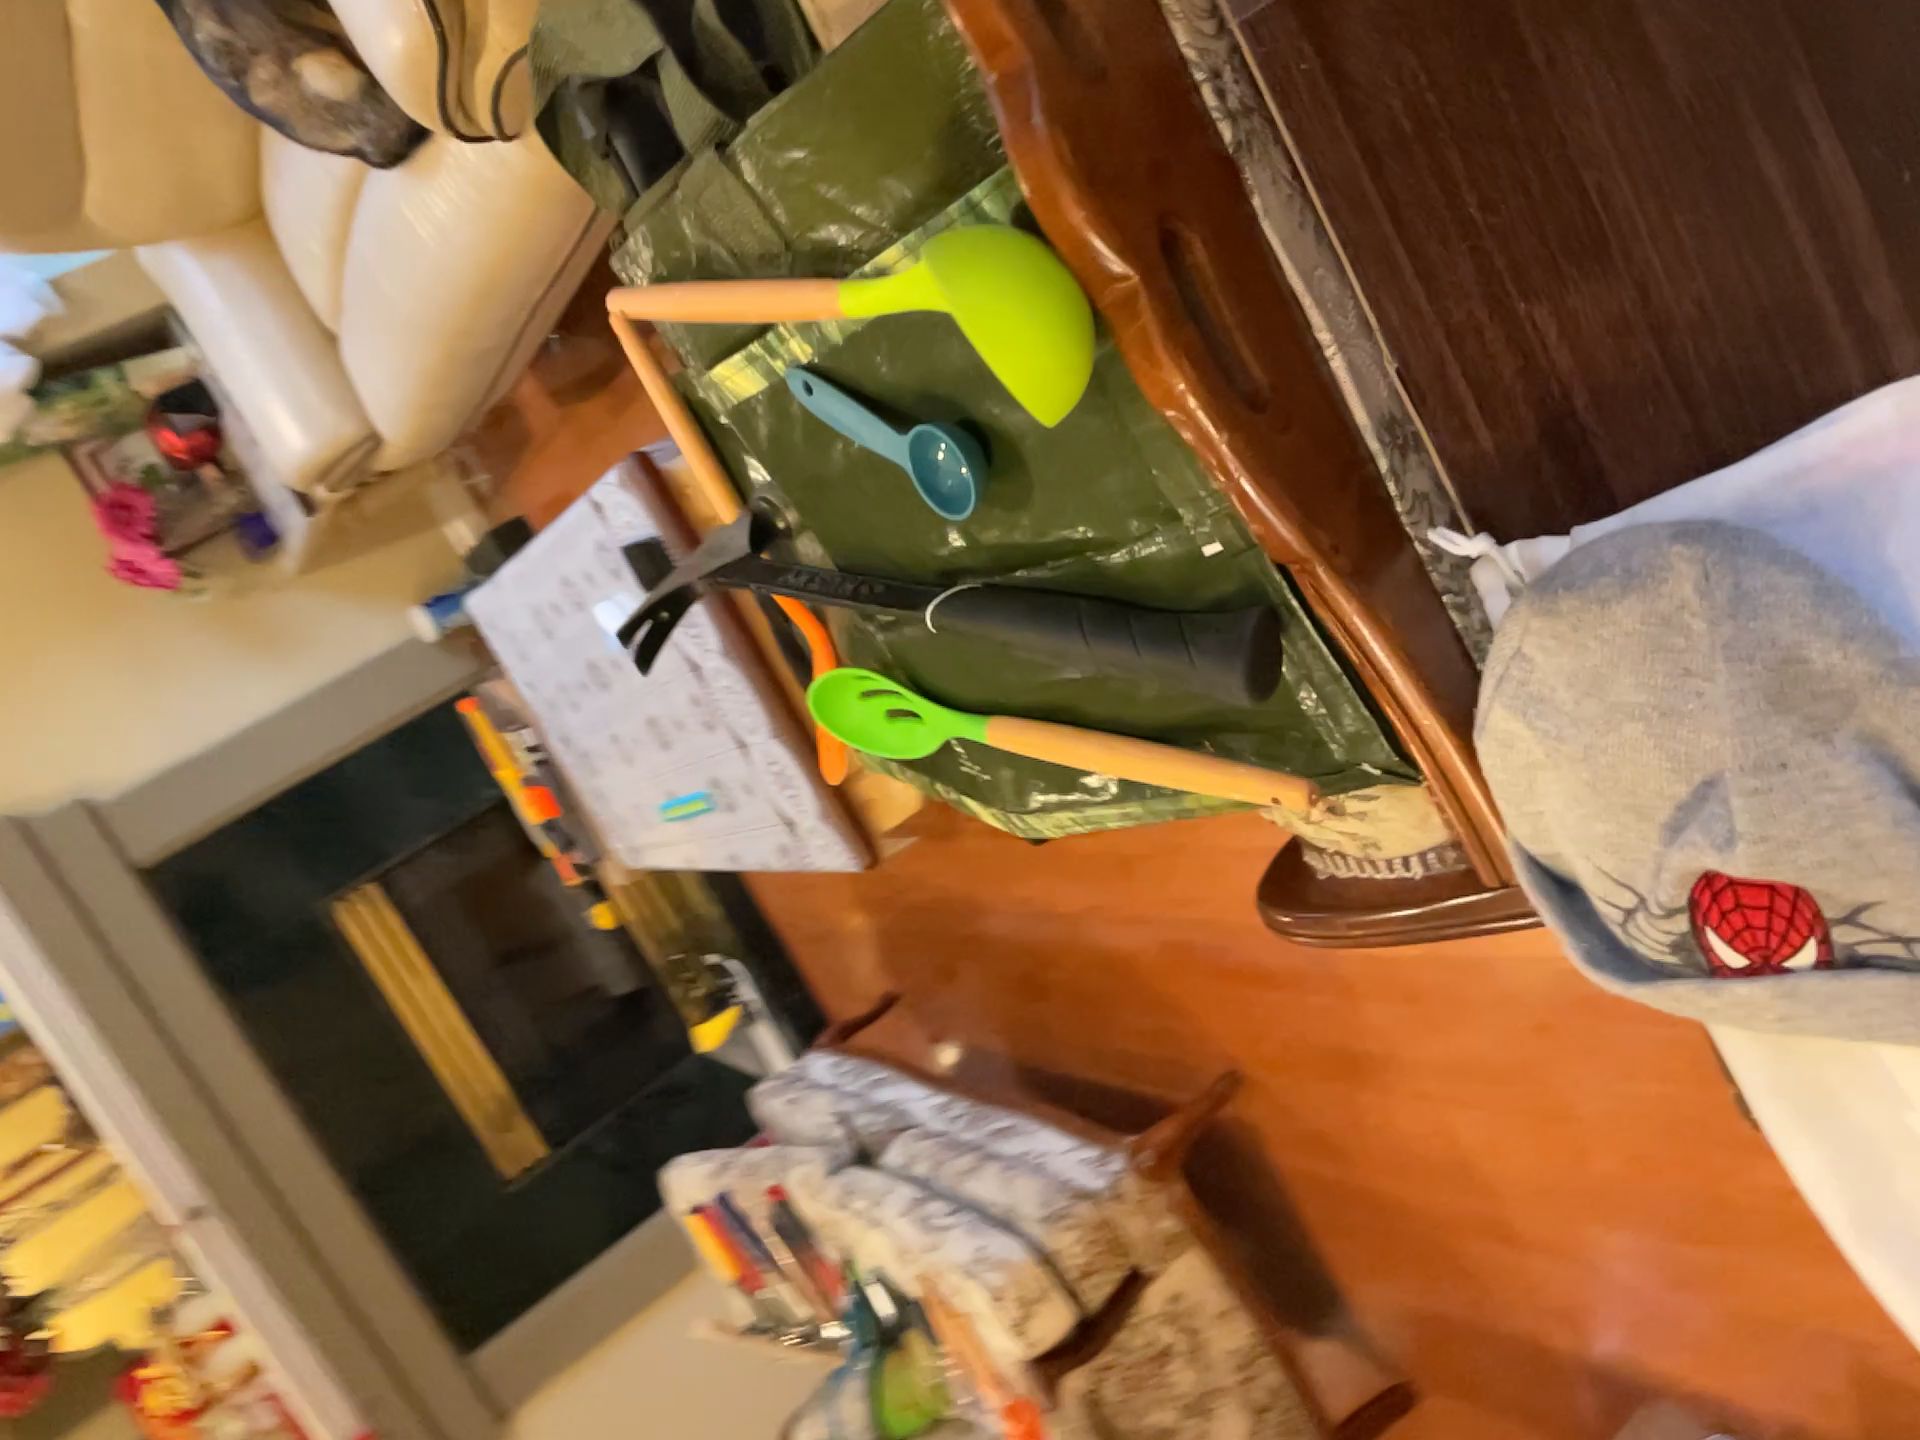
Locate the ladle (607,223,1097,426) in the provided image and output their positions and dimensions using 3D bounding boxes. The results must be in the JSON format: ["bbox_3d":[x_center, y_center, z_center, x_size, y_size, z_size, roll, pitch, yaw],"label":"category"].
[{"bbox_3d":[-0.067,-0.165,0.655,0.320,0.062,0.078,15,159,46],"label":"ladle"}]

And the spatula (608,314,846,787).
[{"bbox_3d":[-0.141,-0.109,0.982,0.322,0.041,0.081,60,163,1],"label":"spatula"}]

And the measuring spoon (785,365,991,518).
[{"bbox_3d":[-0.029,-0.128,0.679,0.129,0.021,0.042,37,147,34],"label":"measuring spoon"}]

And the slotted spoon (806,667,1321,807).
[{"bbox_3d":[0.037,0.010,0.755,0.314,0.031,0.070,10,144,46],"label":"slotted spoon"}]

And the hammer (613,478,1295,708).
[{"bbox_3d":[-0.016,-0.053,0.743,0.409,0.149,0.036,14,141,47],"label":"hammer"}]
